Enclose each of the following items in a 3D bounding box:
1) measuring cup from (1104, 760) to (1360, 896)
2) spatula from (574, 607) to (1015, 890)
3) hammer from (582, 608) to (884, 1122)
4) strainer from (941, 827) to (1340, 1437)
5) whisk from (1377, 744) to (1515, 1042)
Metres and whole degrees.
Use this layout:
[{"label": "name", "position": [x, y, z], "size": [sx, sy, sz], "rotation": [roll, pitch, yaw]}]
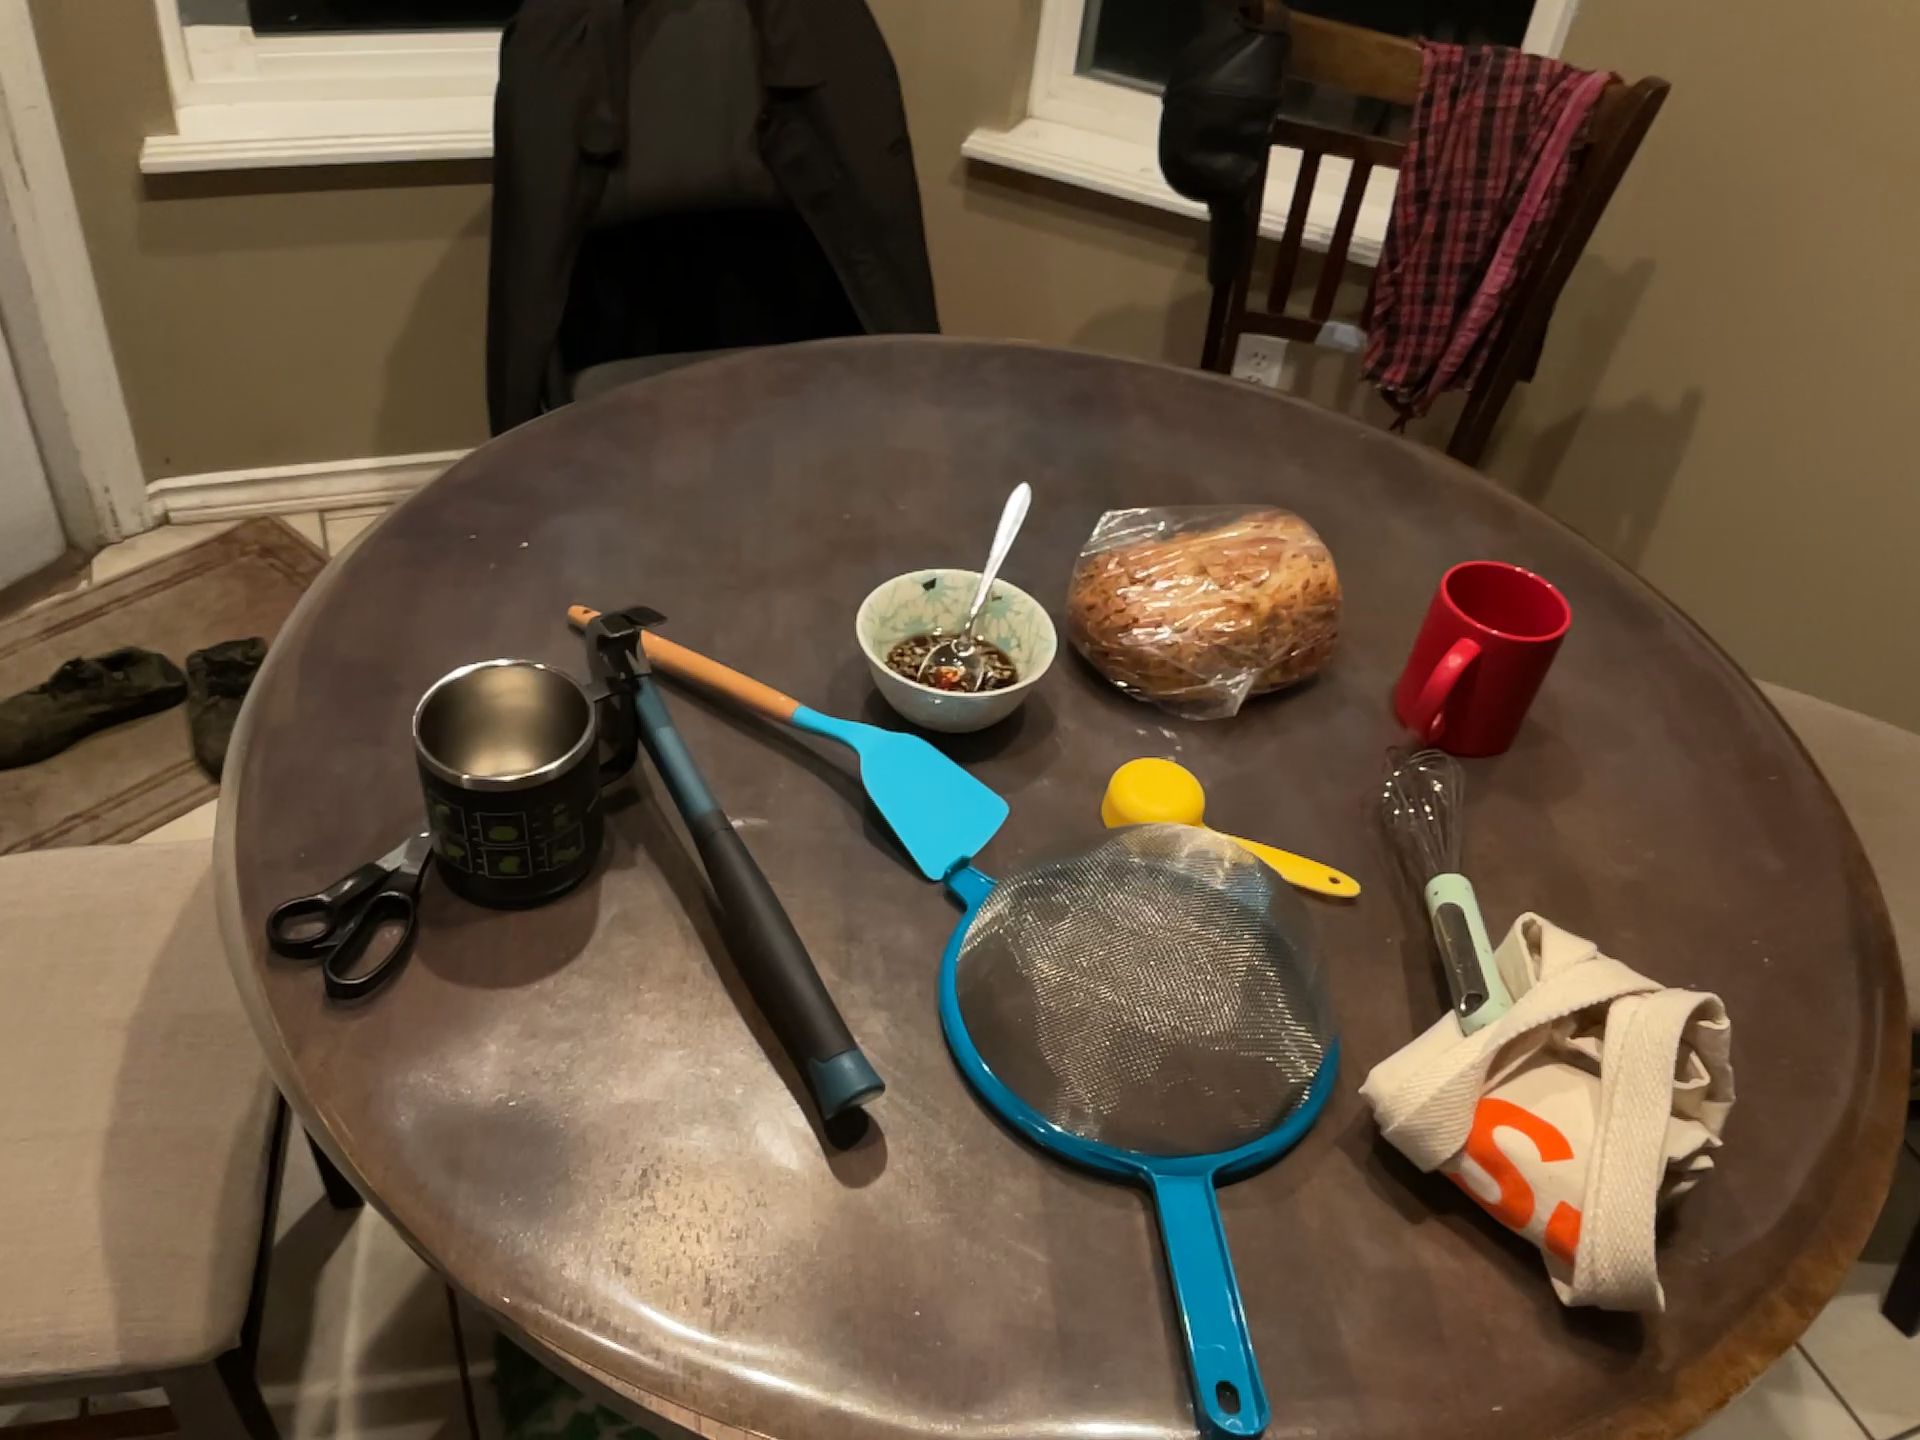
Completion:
[{"label": "measuring cup", "position": [0.160, 0.064, 0.937], "size": [0.156, 0.029, 0.062], "rotation": [20, 42, 15]}, {"label": "spatula", "position": [-0.116, 0.001, 0.974], "size": [0.317, 0.044, 0.082], "rotation": [25, 44, 24]}, {"label": "hammer", "position": [-0.128, 0.070, 0.844], "size": [0.033, 0.128, 0.331], "rotation": [-19, 57, -24]}, {"label": "strainer", "position": [0.104, 0.160, 0.771], "size": [0.211, 0.095, 0.341], "rotation": [1, 37, -7]}, {"label": "whisk", "position": [0.271, 0.089, 0.891], "size": [0.059, 0.057, 0.246], "rotation": [34, 28, -16]}]
